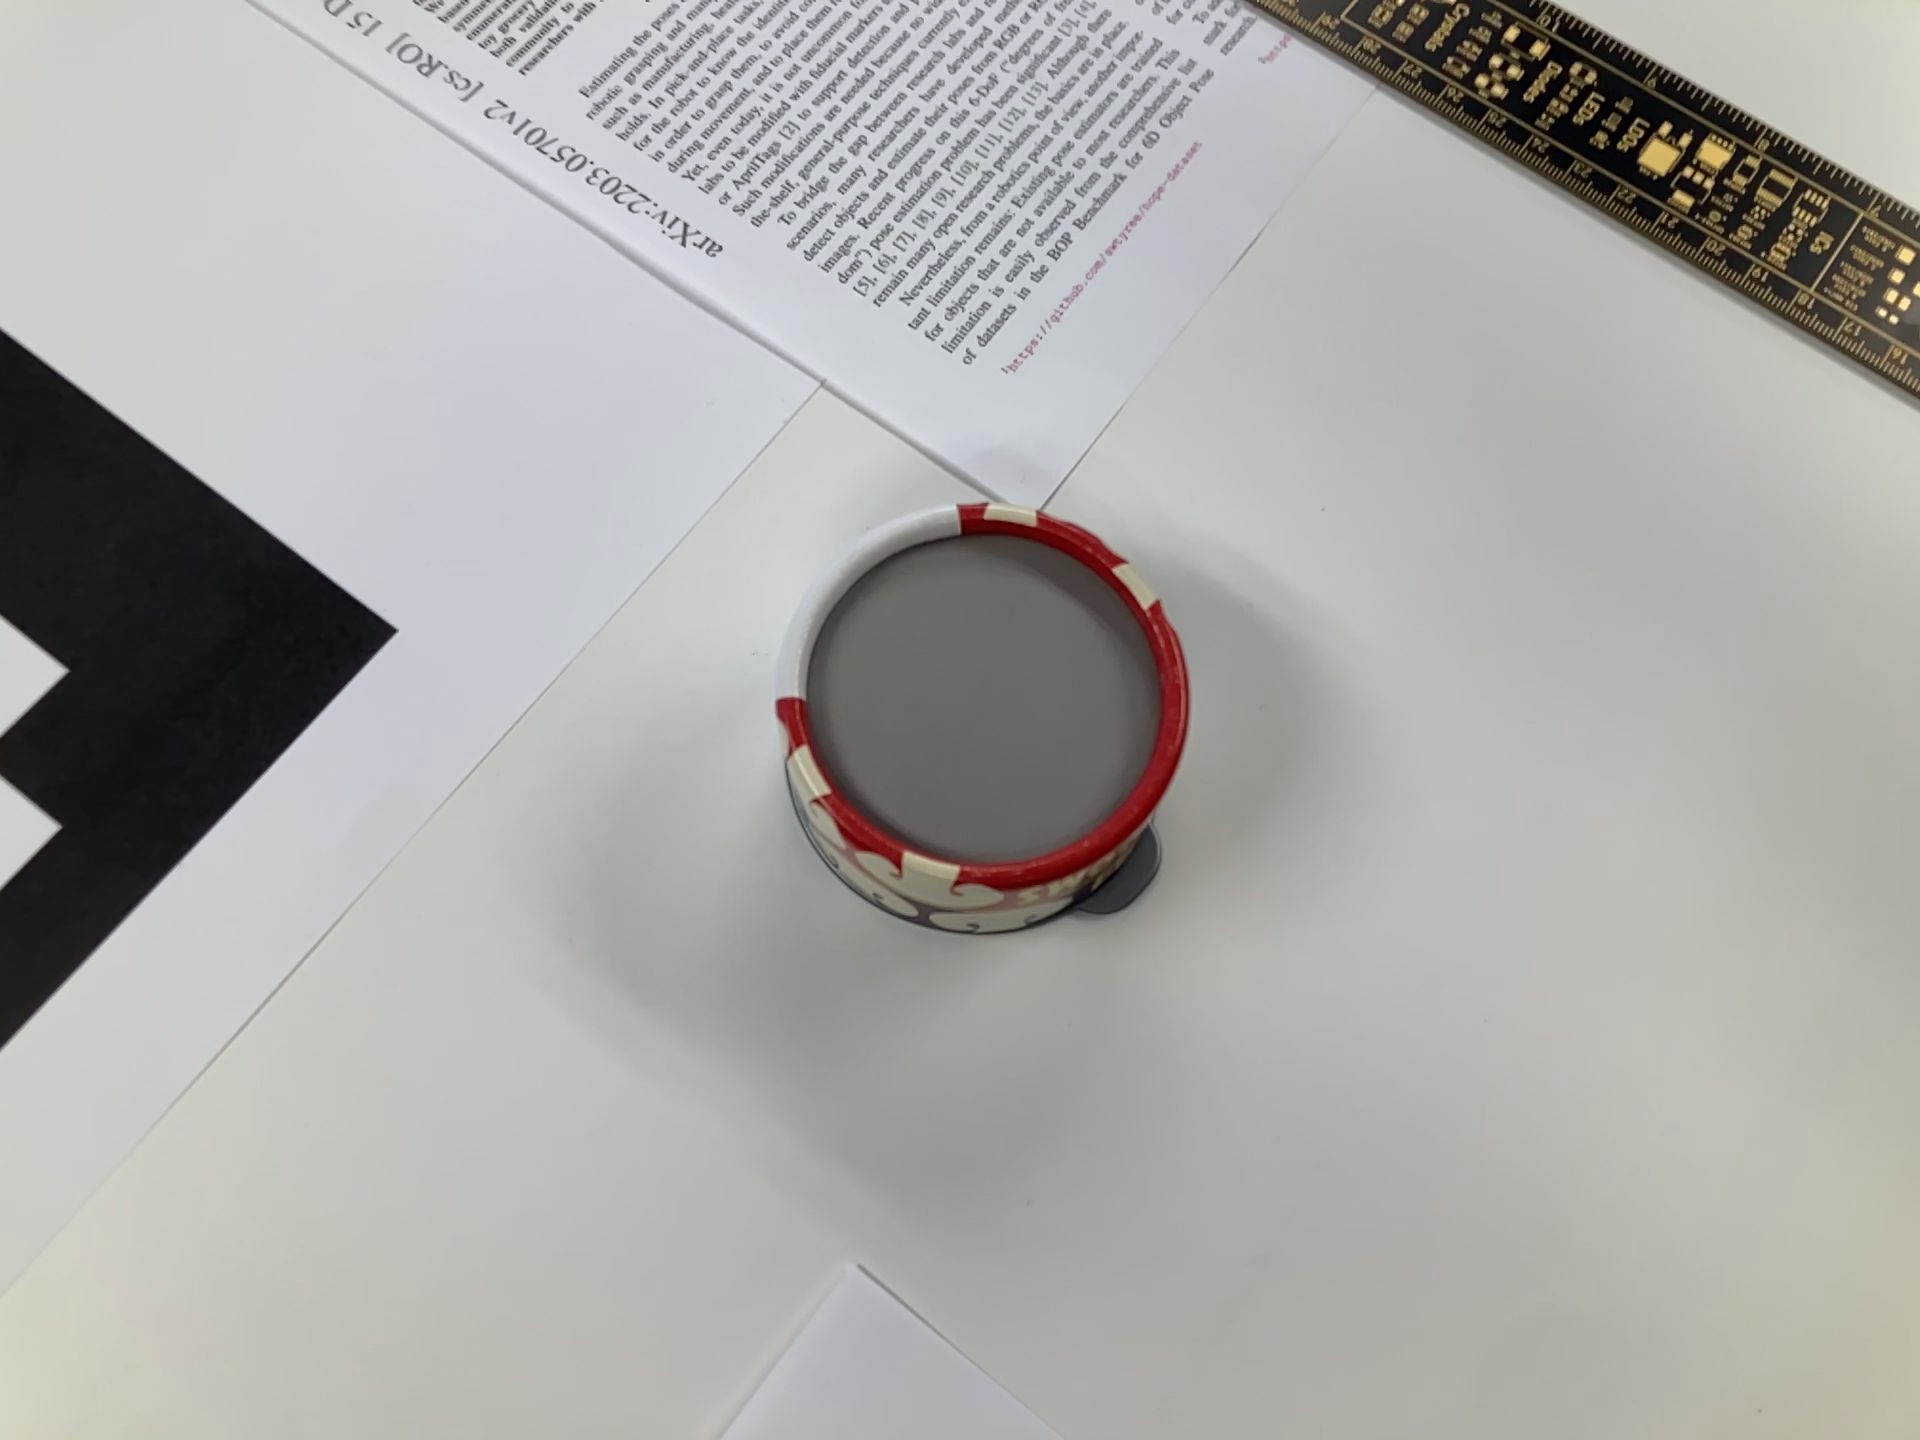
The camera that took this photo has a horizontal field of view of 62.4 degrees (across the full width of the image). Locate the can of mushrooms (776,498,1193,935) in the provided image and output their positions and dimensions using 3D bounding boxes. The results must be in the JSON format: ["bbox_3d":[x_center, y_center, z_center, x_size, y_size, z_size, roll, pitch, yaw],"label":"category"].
[{"bbox_3d":[0.005,0.001,0.259,0.071,0.033,0.071,1,70,-3],"label":"can of mushrooms"}]
